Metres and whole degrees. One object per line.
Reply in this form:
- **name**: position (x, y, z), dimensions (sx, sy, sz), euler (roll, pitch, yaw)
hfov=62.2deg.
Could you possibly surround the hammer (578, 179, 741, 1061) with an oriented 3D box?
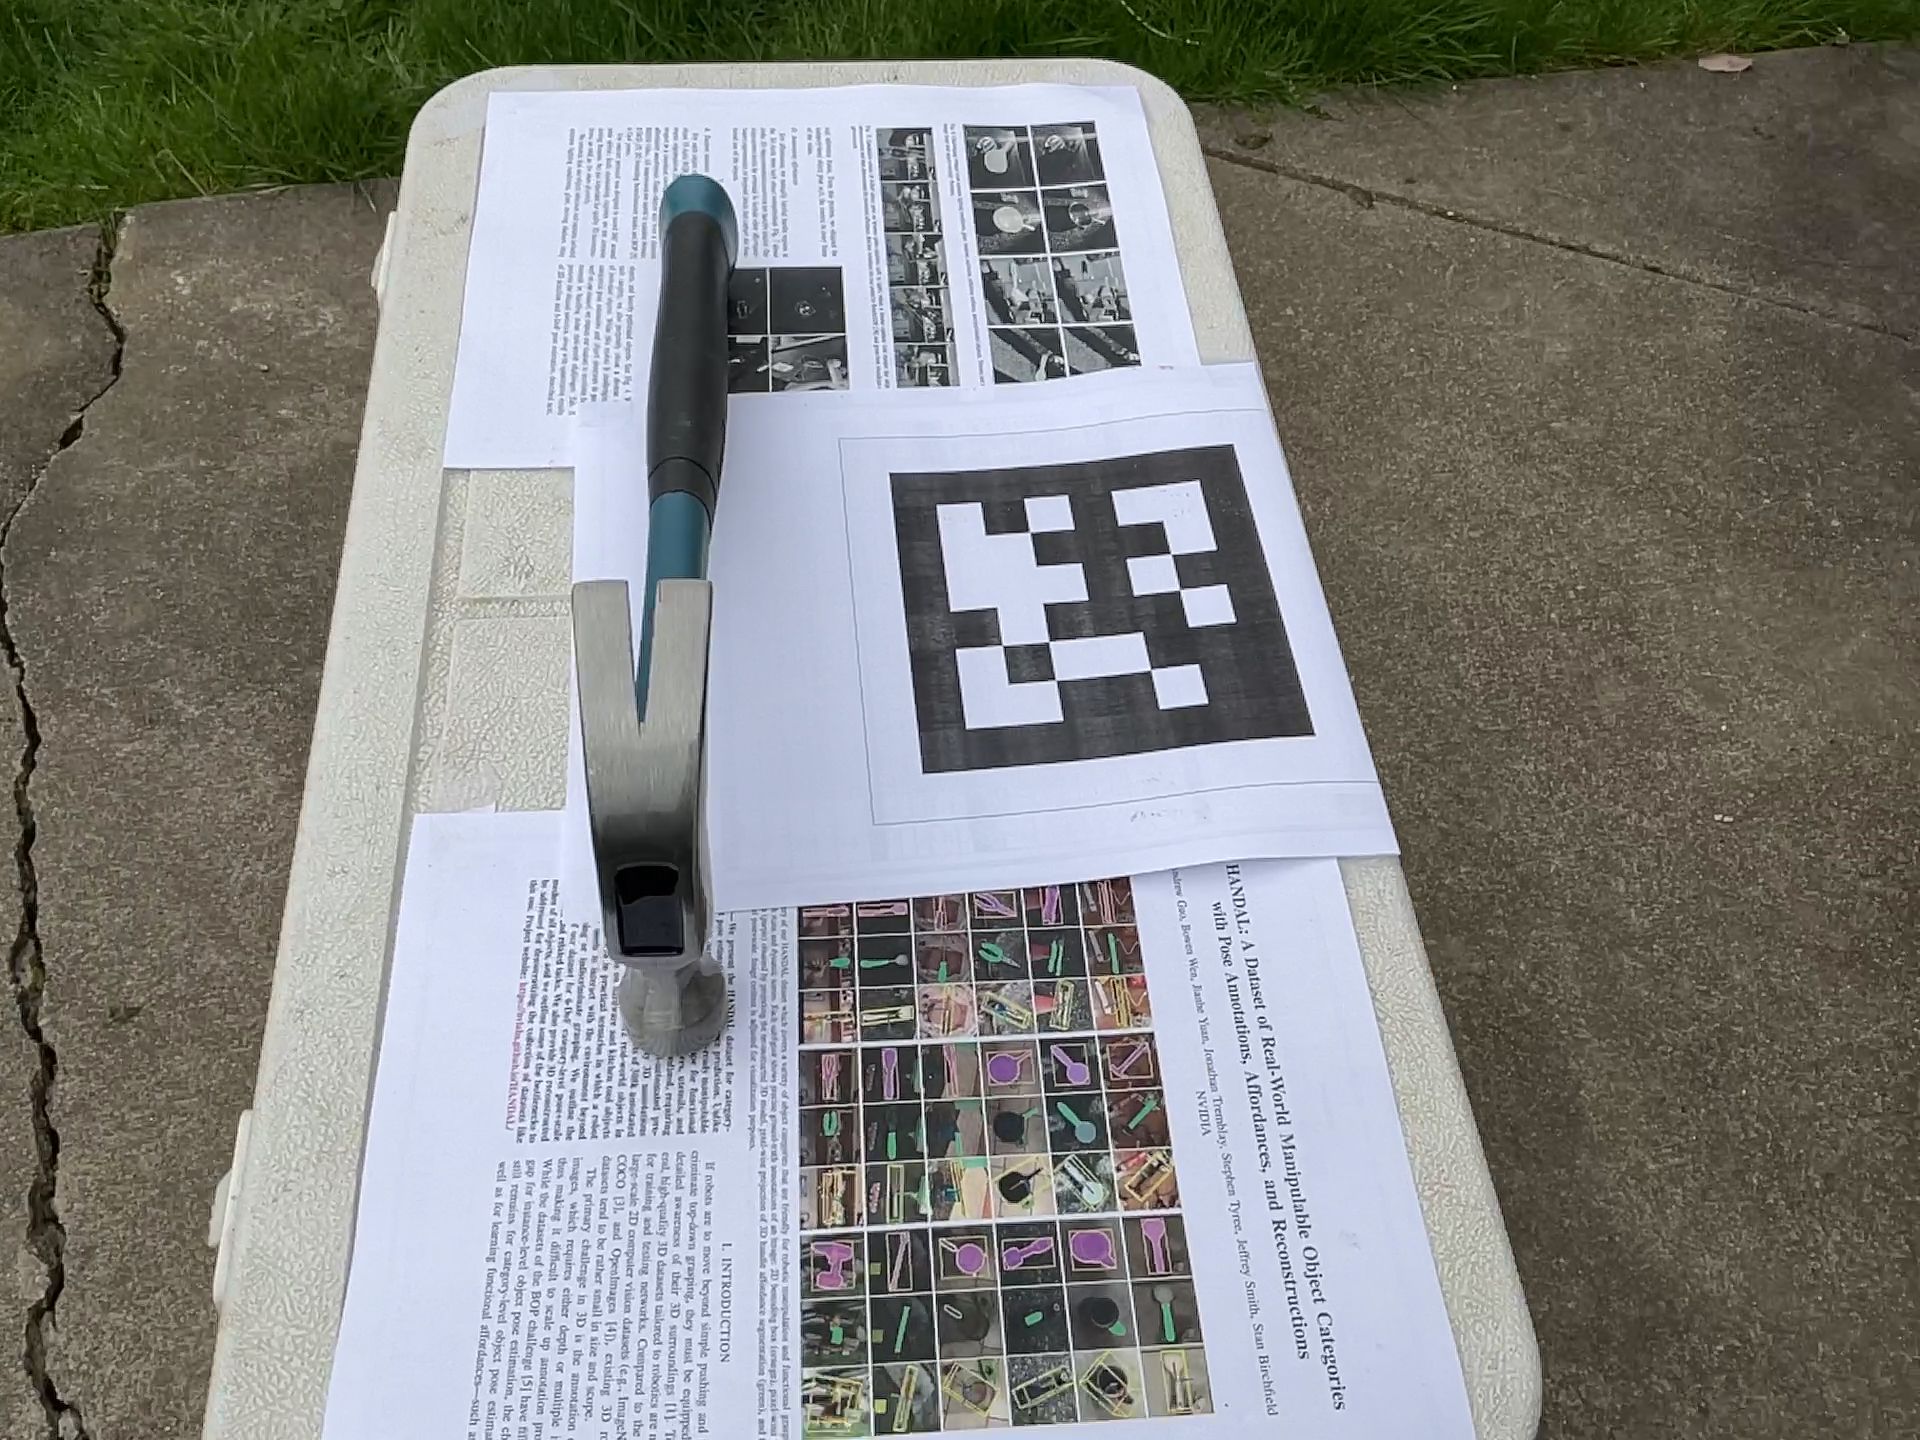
- **hammer**: position (-0.088, -0.069, 0.505), dimensions (0.033, 0.128, 0.331), euler (-1, 48, -6)
